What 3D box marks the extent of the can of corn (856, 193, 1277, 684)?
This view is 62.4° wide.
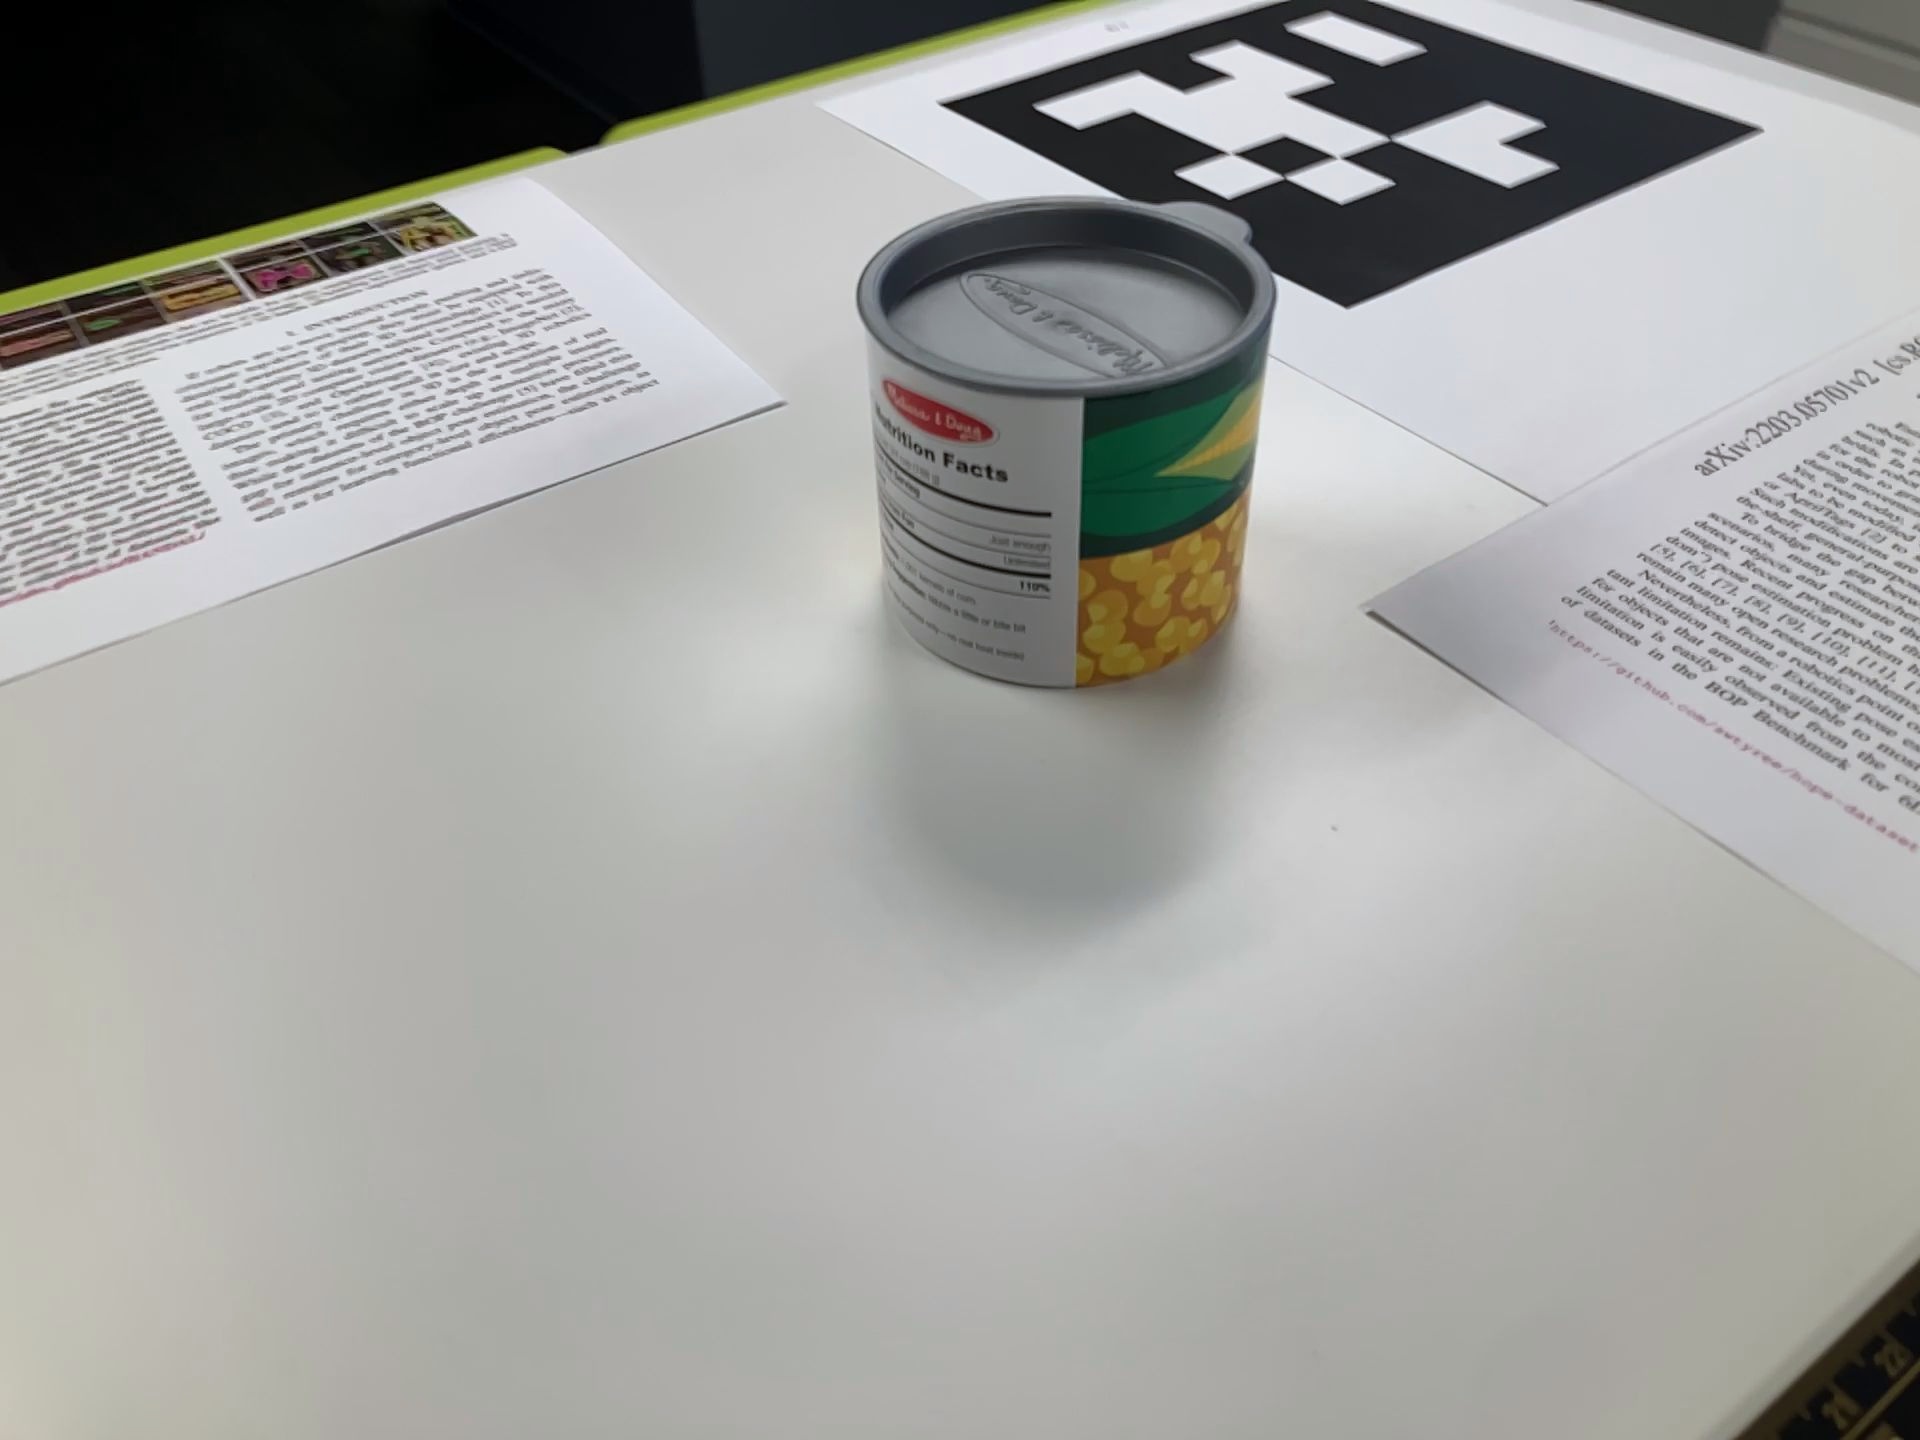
[{"bbox_3d":[0.019,-0.049,0.271,0.071,0.058,0.071,-1,41,1],"label":"can of corn"}]
